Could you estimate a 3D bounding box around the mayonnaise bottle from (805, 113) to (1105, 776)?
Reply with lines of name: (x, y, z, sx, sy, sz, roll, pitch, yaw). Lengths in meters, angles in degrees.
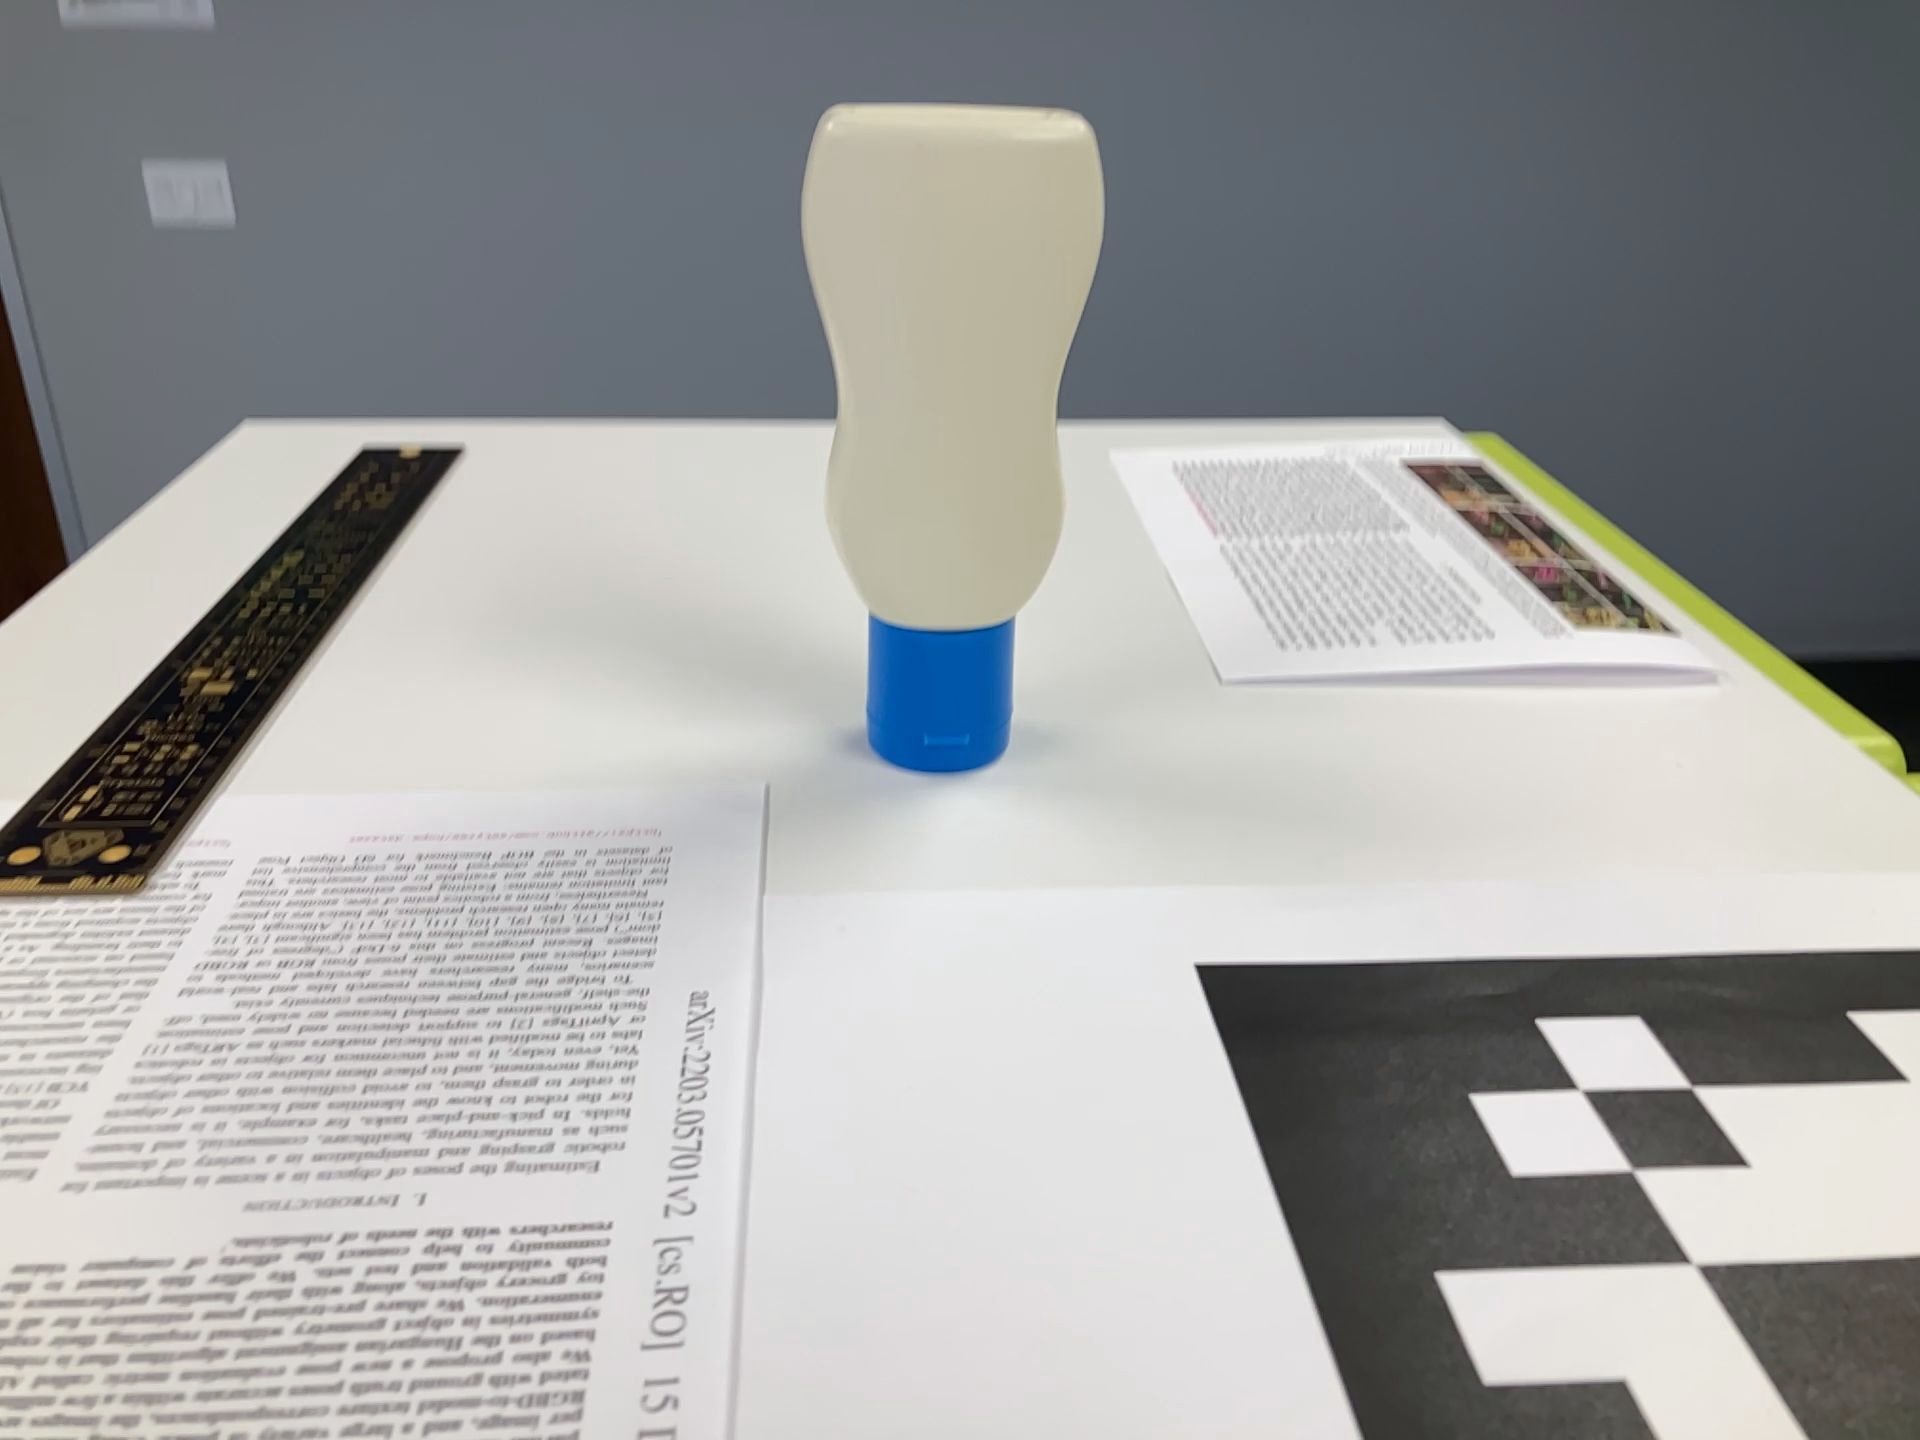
mayonnaise bottle: (-0.003, -0.061, 0.367, 0.065, 0.148, 0.041, -1, 25, -6)
